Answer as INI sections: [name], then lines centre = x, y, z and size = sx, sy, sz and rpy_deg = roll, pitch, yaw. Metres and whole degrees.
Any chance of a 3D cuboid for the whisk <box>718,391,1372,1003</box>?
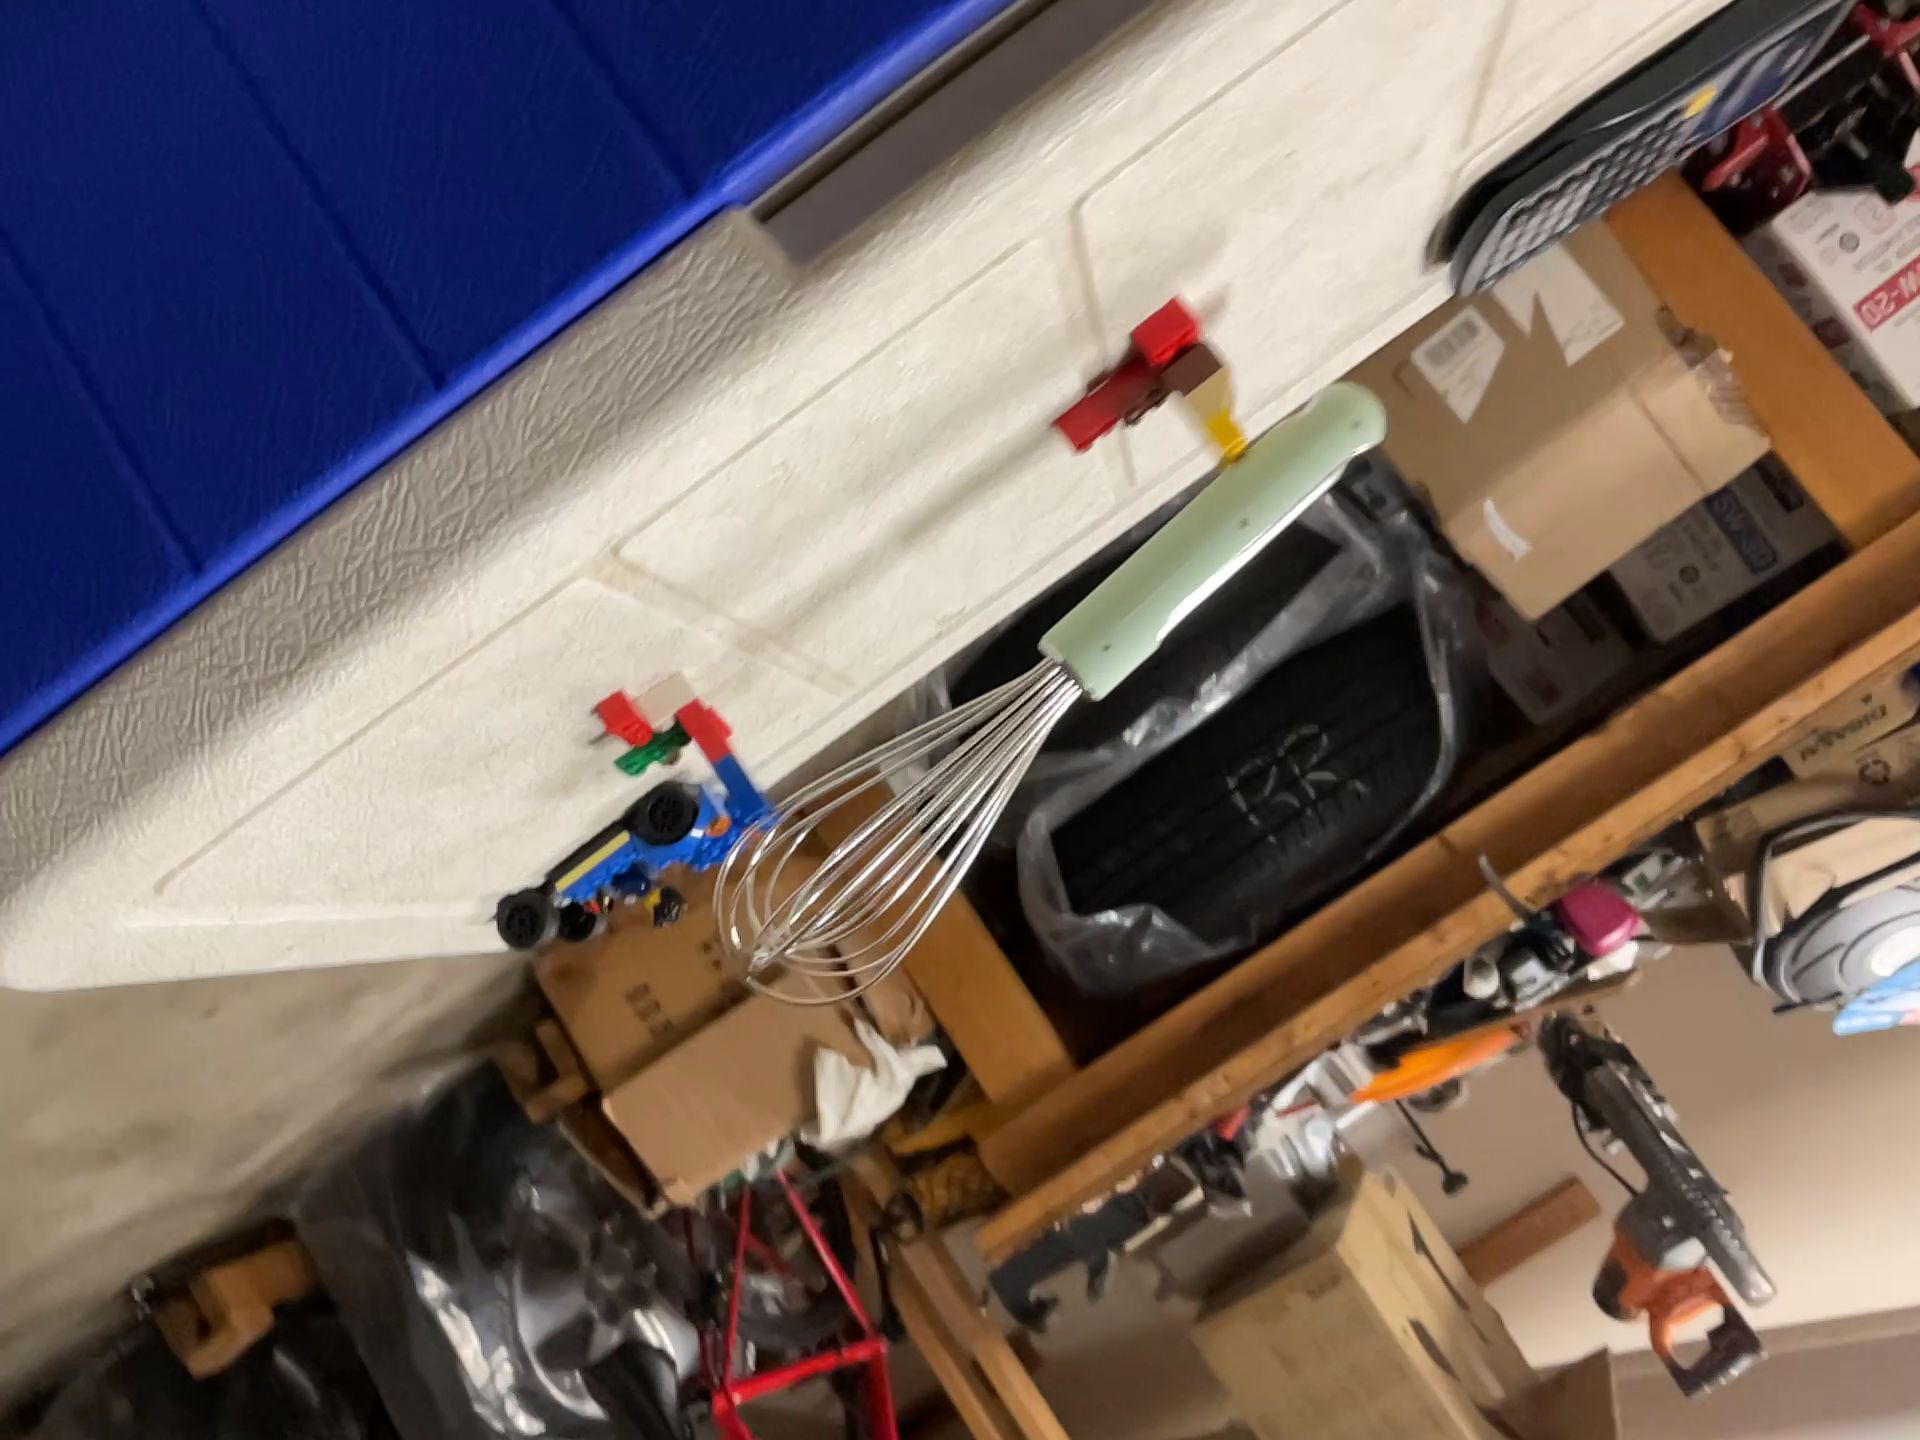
[whisk]
centre = 0.026, -0.009, 0.471
size = 0.246, 0.059, 0.058
rpy_deg = -42, 177, 2
